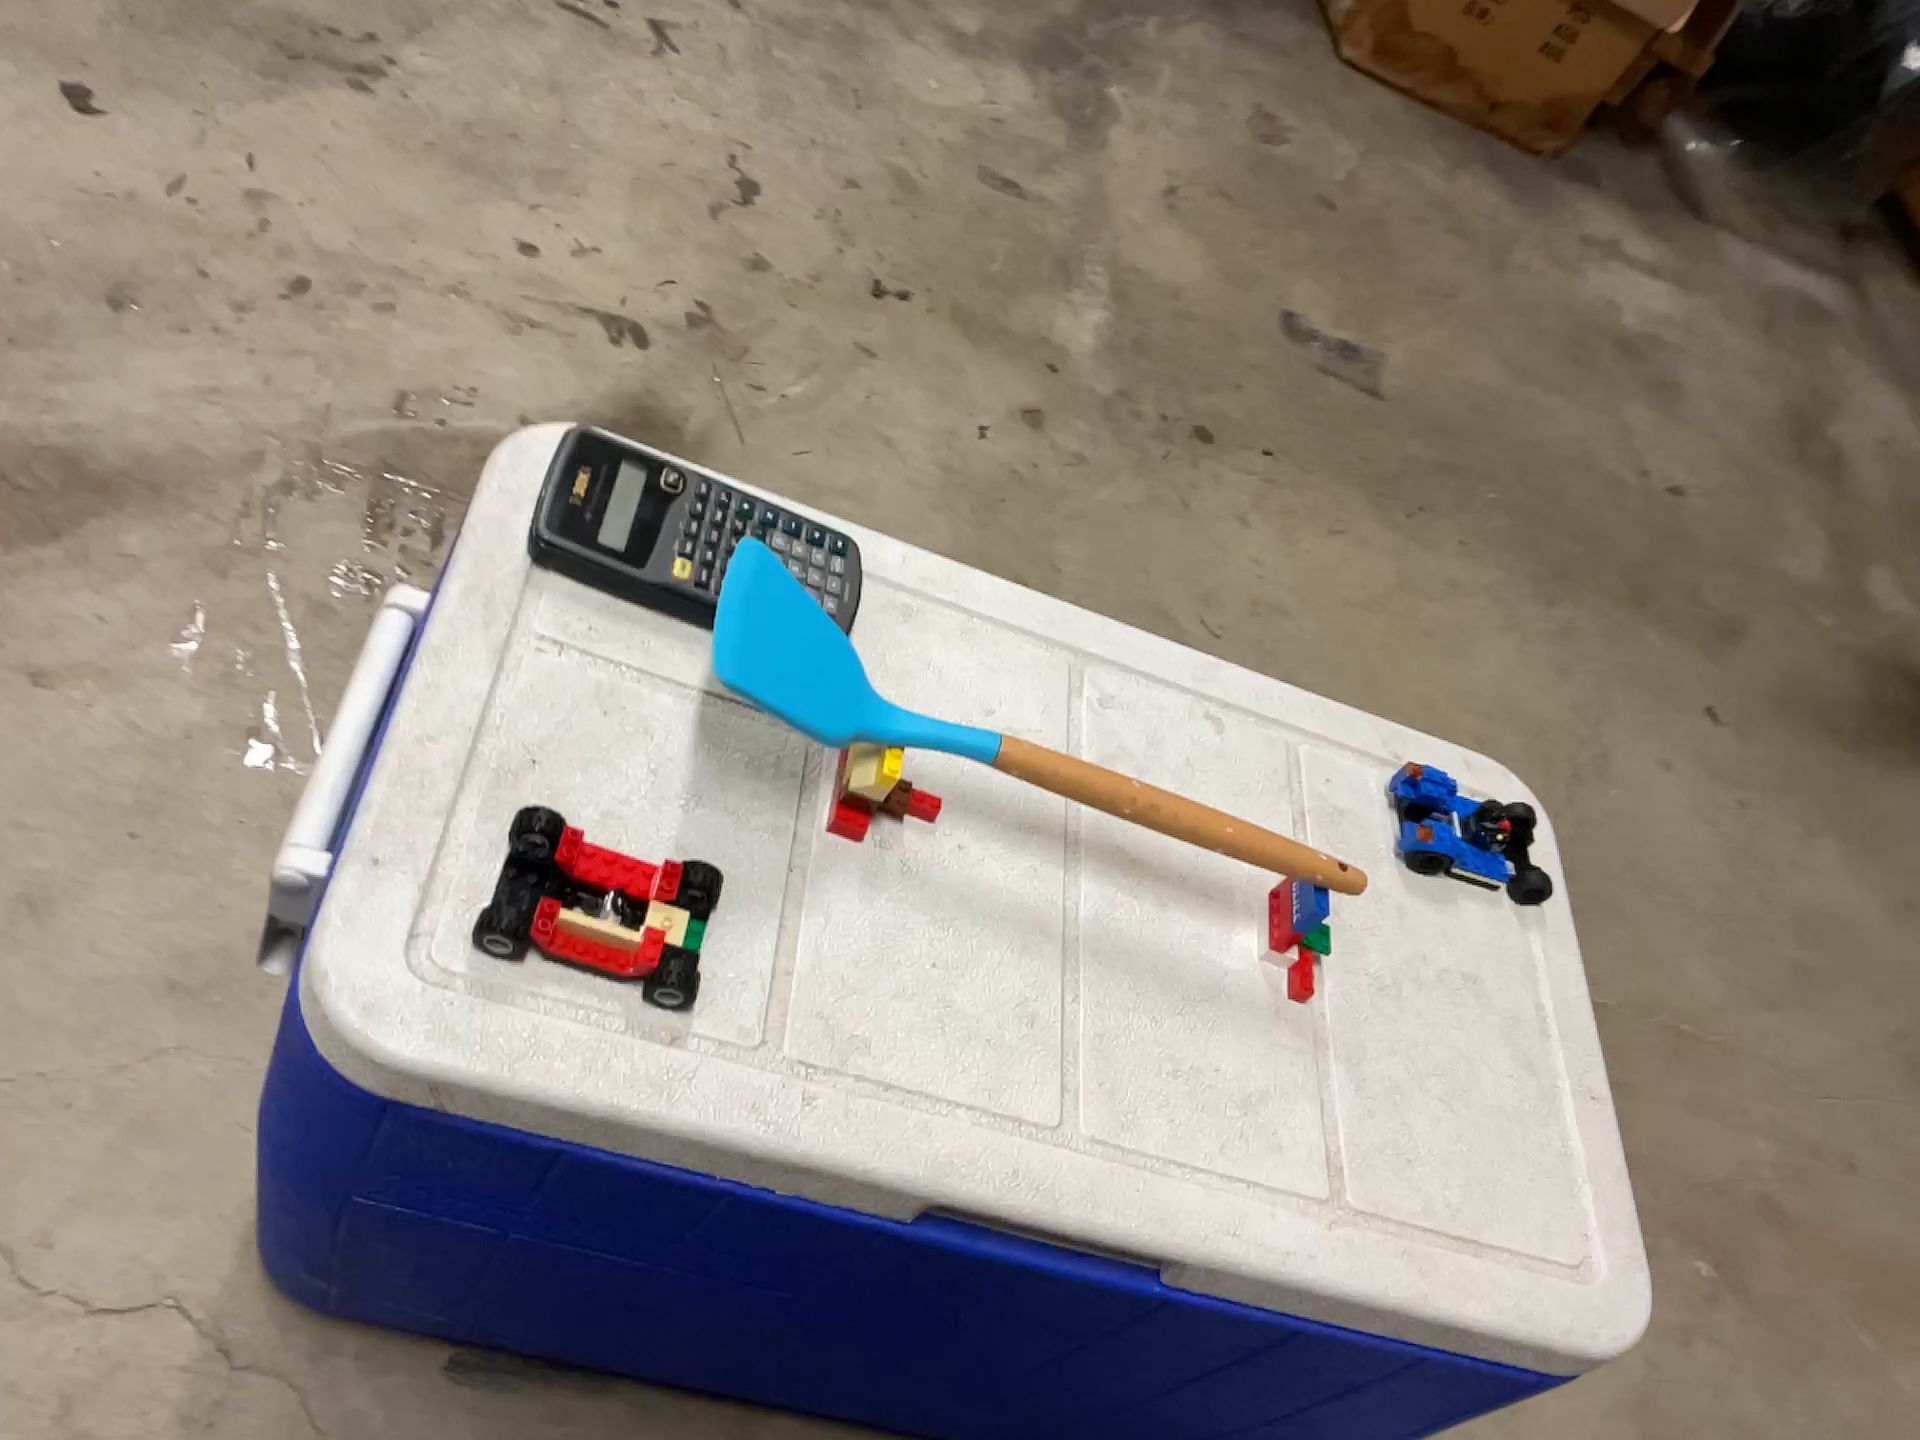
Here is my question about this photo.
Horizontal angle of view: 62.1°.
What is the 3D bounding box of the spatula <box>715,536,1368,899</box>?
[{"bbox_3d":[0.043,0.017,0.678,0.317,0.044,0.083,20,46,-15],"label":"spatula"}]
